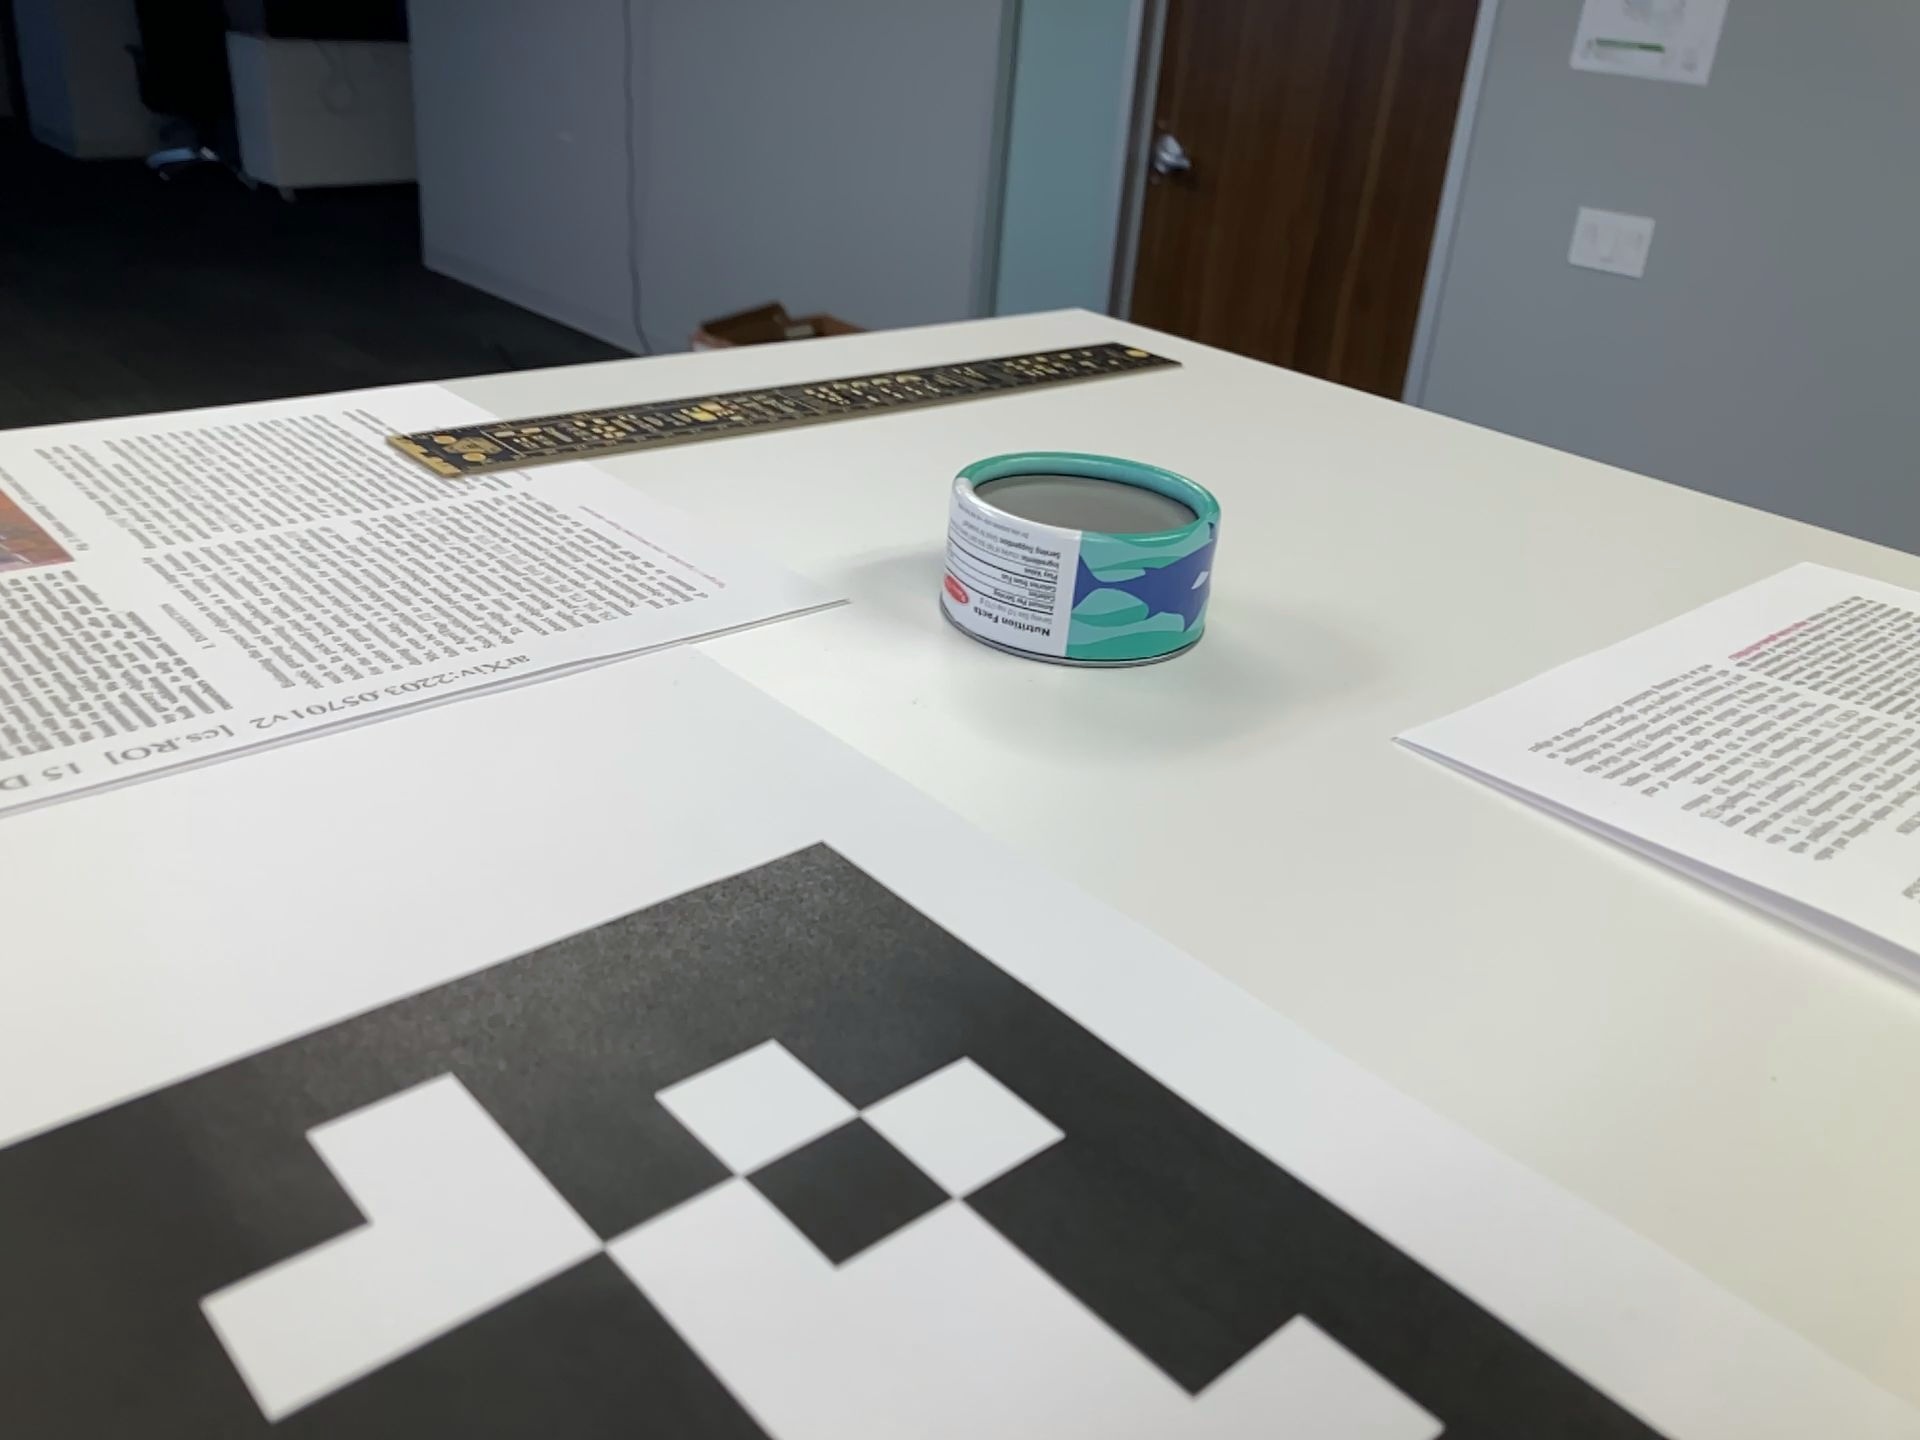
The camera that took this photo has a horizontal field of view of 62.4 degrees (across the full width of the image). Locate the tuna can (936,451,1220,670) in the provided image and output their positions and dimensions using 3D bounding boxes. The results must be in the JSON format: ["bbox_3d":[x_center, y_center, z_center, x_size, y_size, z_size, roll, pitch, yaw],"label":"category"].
[{"bbox_3d":[0.031,-0.041,0.388,0.071,0.033,0.071,6,26,-3],"label":"tuna can"}]
